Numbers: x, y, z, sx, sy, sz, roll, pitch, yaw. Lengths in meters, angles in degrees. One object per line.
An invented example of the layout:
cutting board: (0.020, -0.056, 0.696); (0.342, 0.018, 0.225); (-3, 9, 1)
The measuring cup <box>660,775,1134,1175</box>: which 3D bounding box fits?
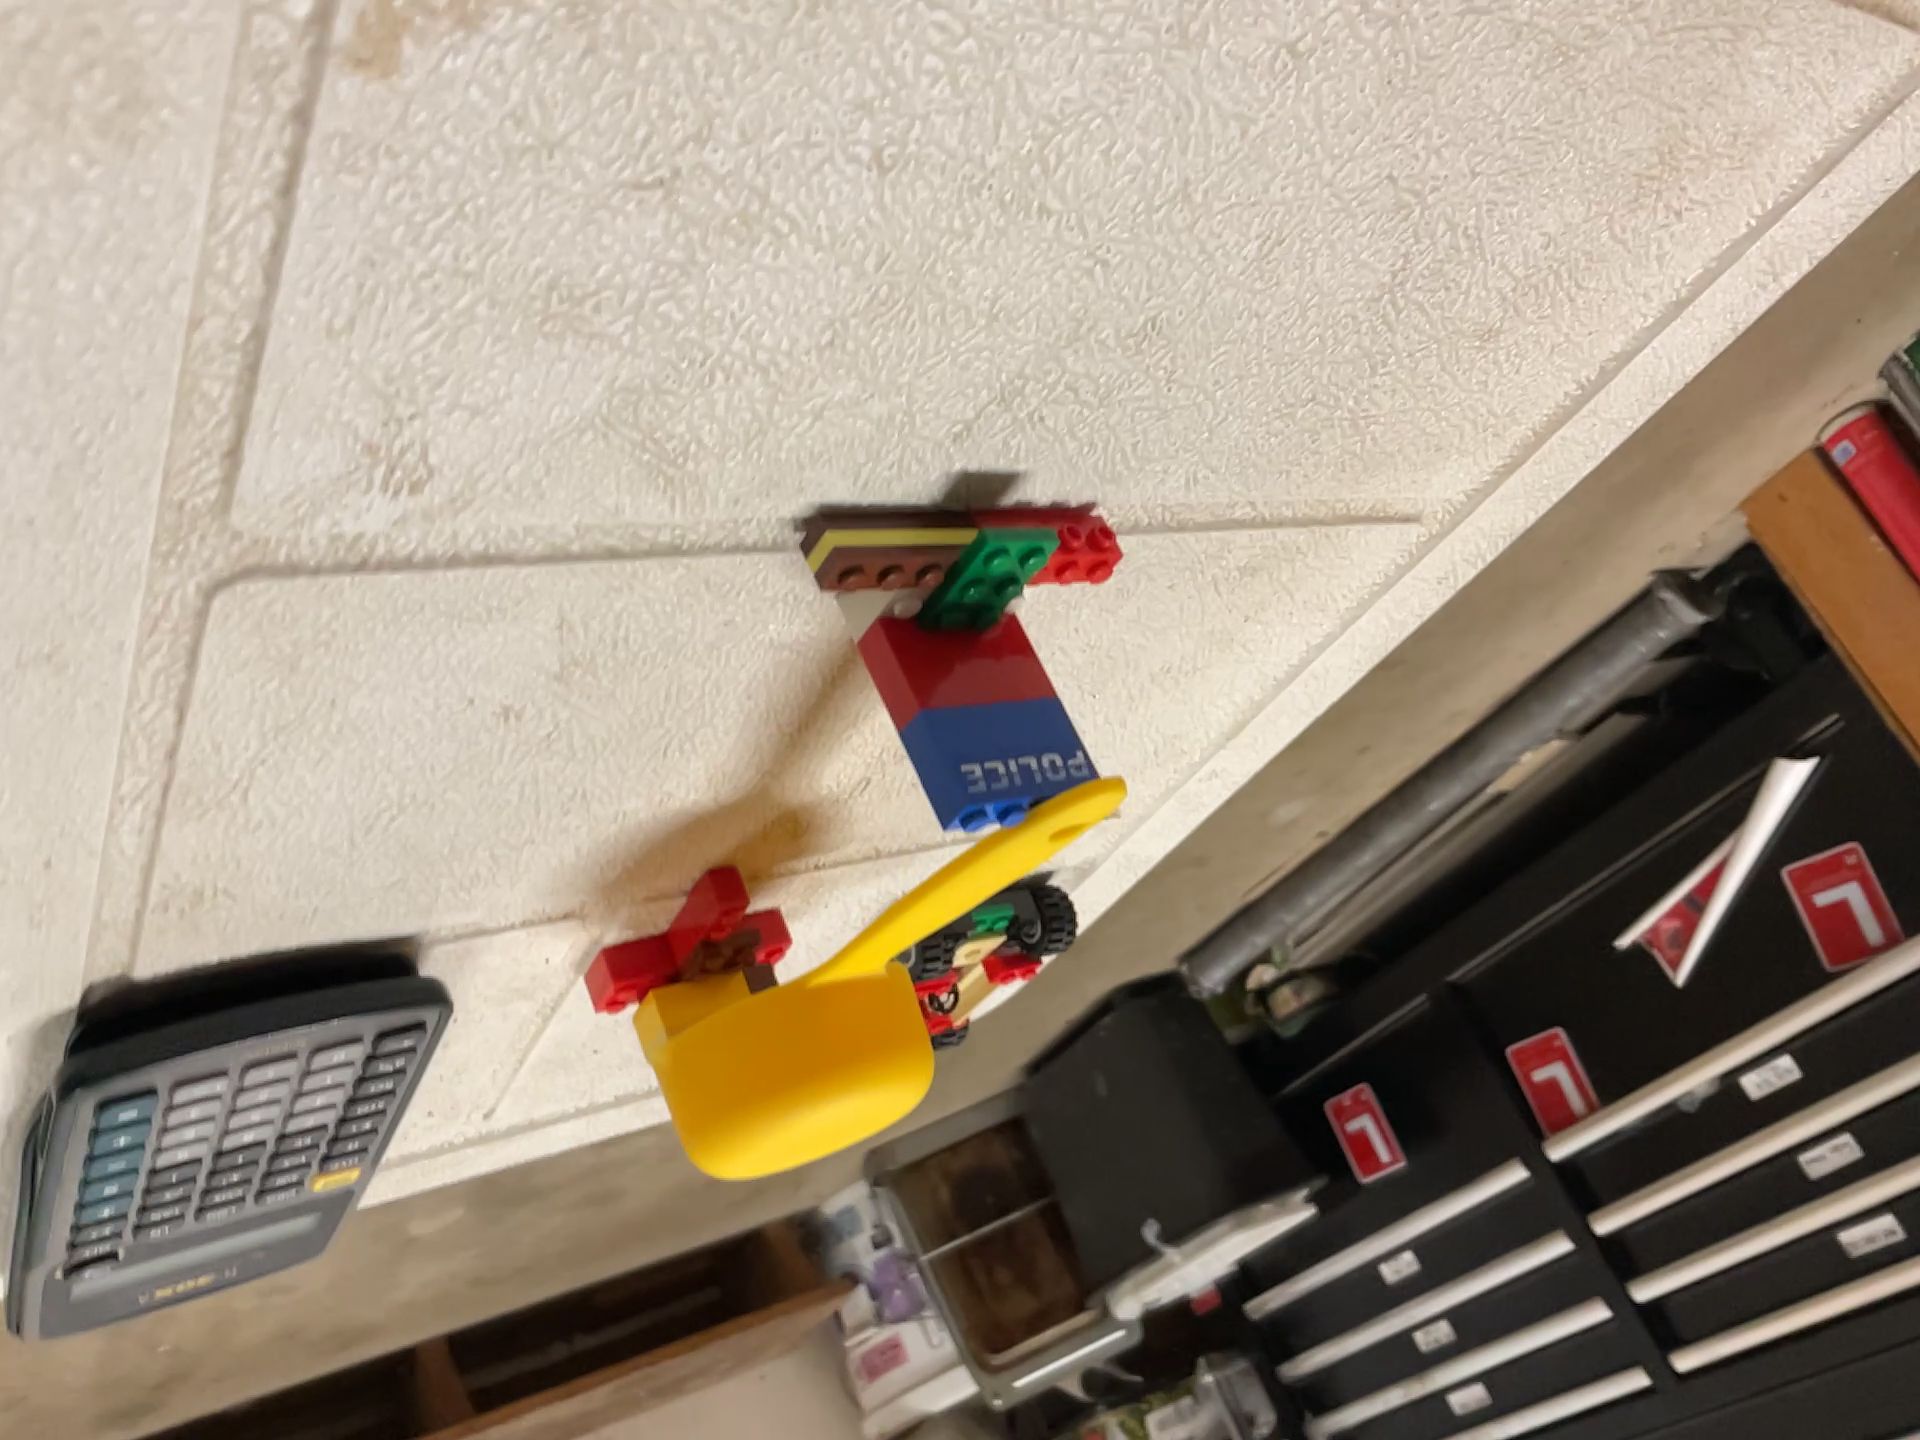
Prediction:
measuring cup: (-0.010, 0.056, 0.319); (0.062, 0.029, 0.156); (-7, 156, -38)
